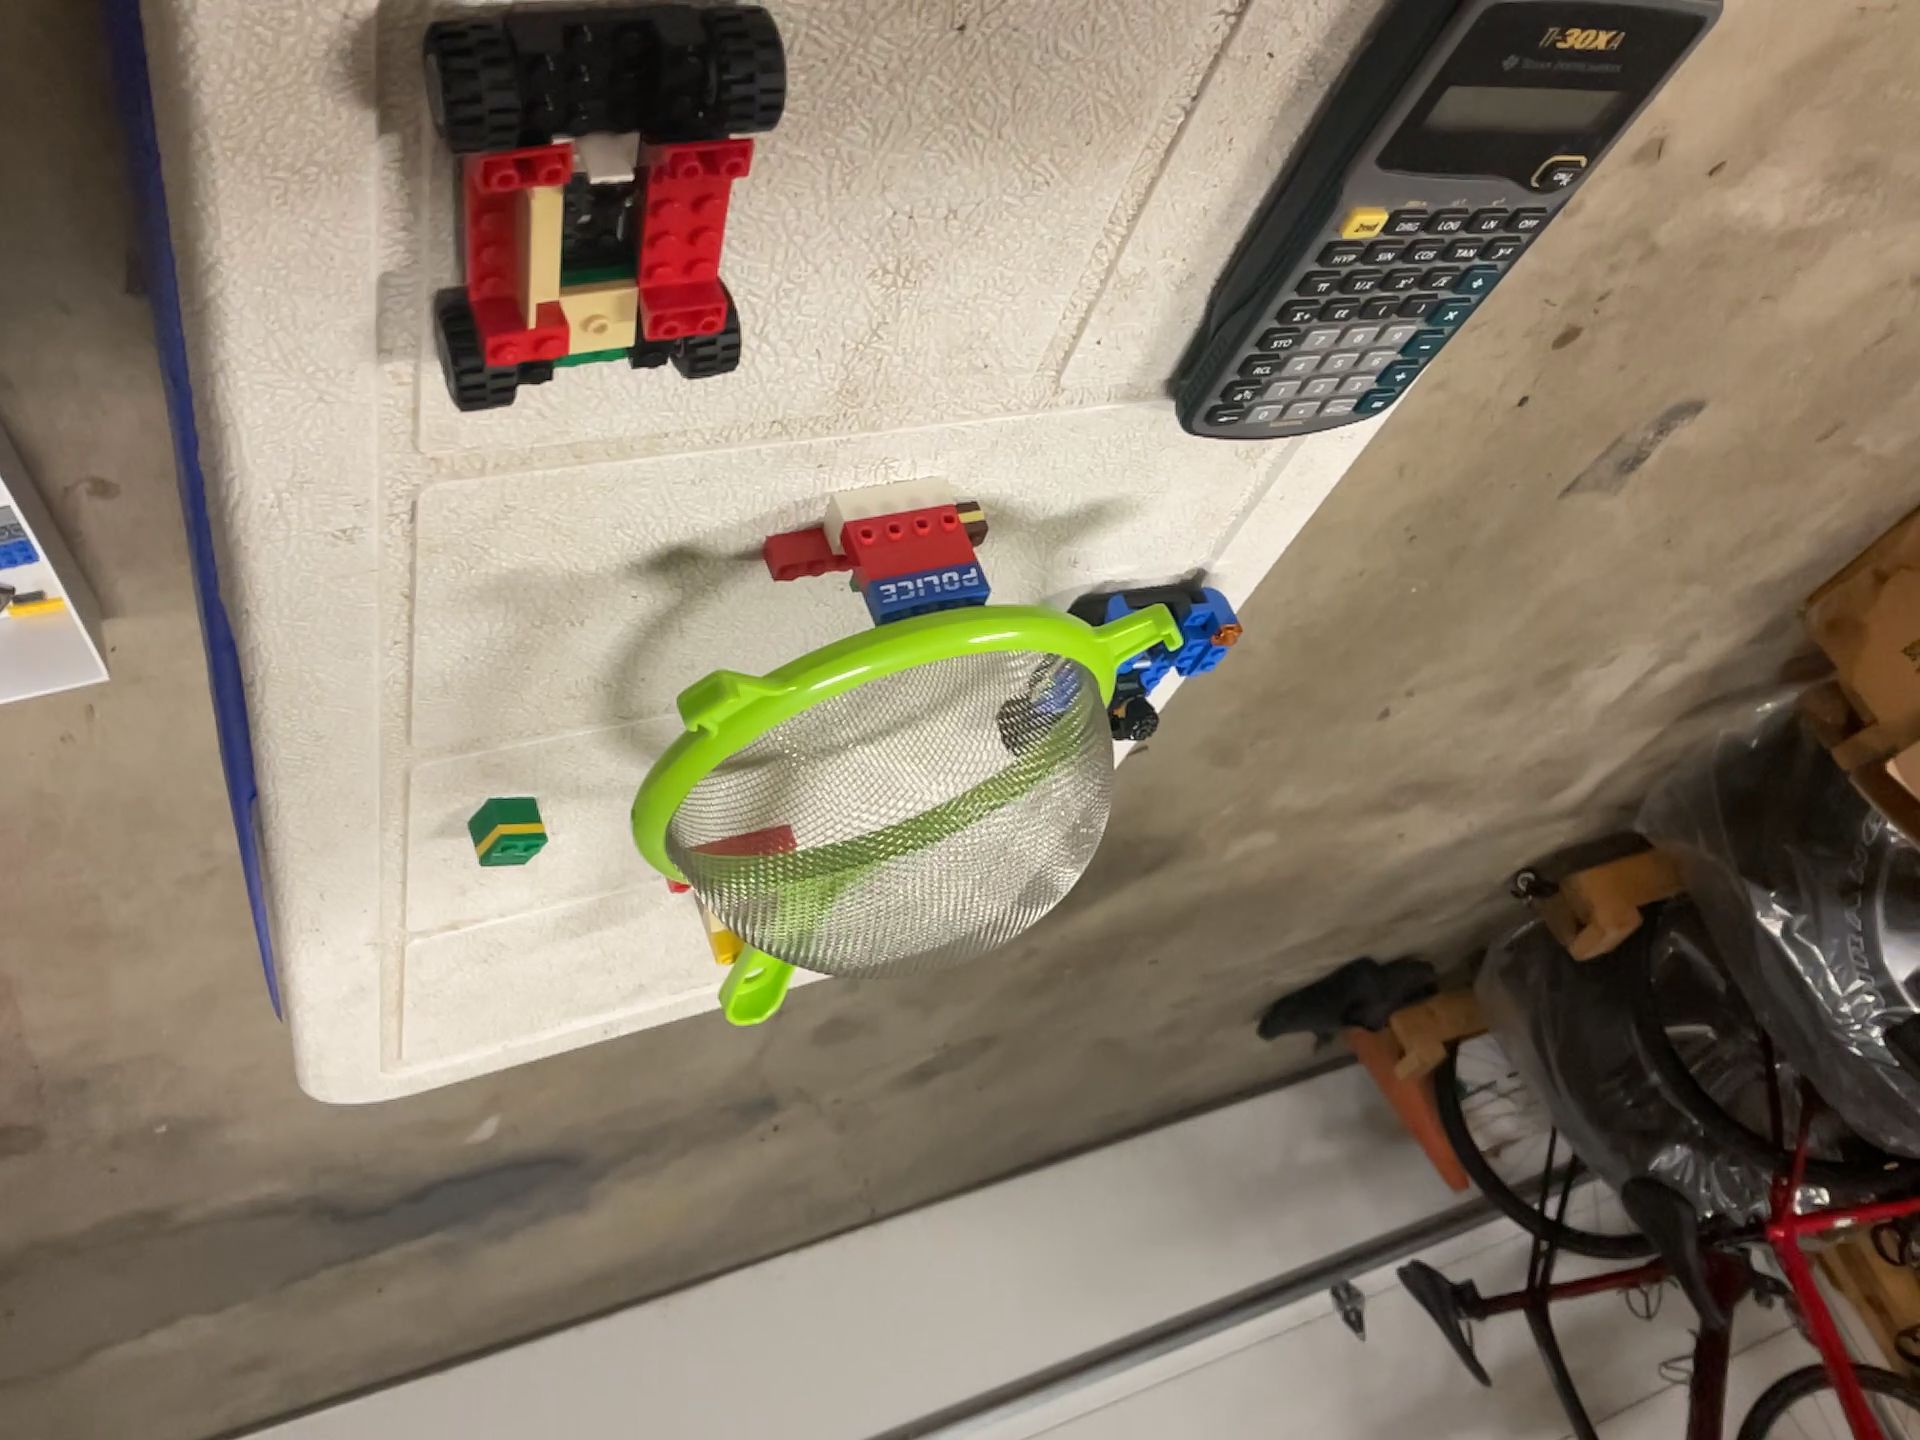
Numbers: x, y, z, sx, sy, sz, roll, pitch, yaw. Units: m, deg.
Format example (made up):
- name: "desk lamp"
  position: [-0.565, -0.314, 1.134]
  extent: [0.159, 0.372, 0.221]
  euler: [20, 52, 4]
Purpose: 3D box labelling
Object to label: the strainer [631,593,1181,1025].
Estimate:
- name: "strainer"
  position: [-0.031, 0.061, 0.504]
  extent: [0.151, 0.069, 0.256]
  euler: [-12, 153, -29]
